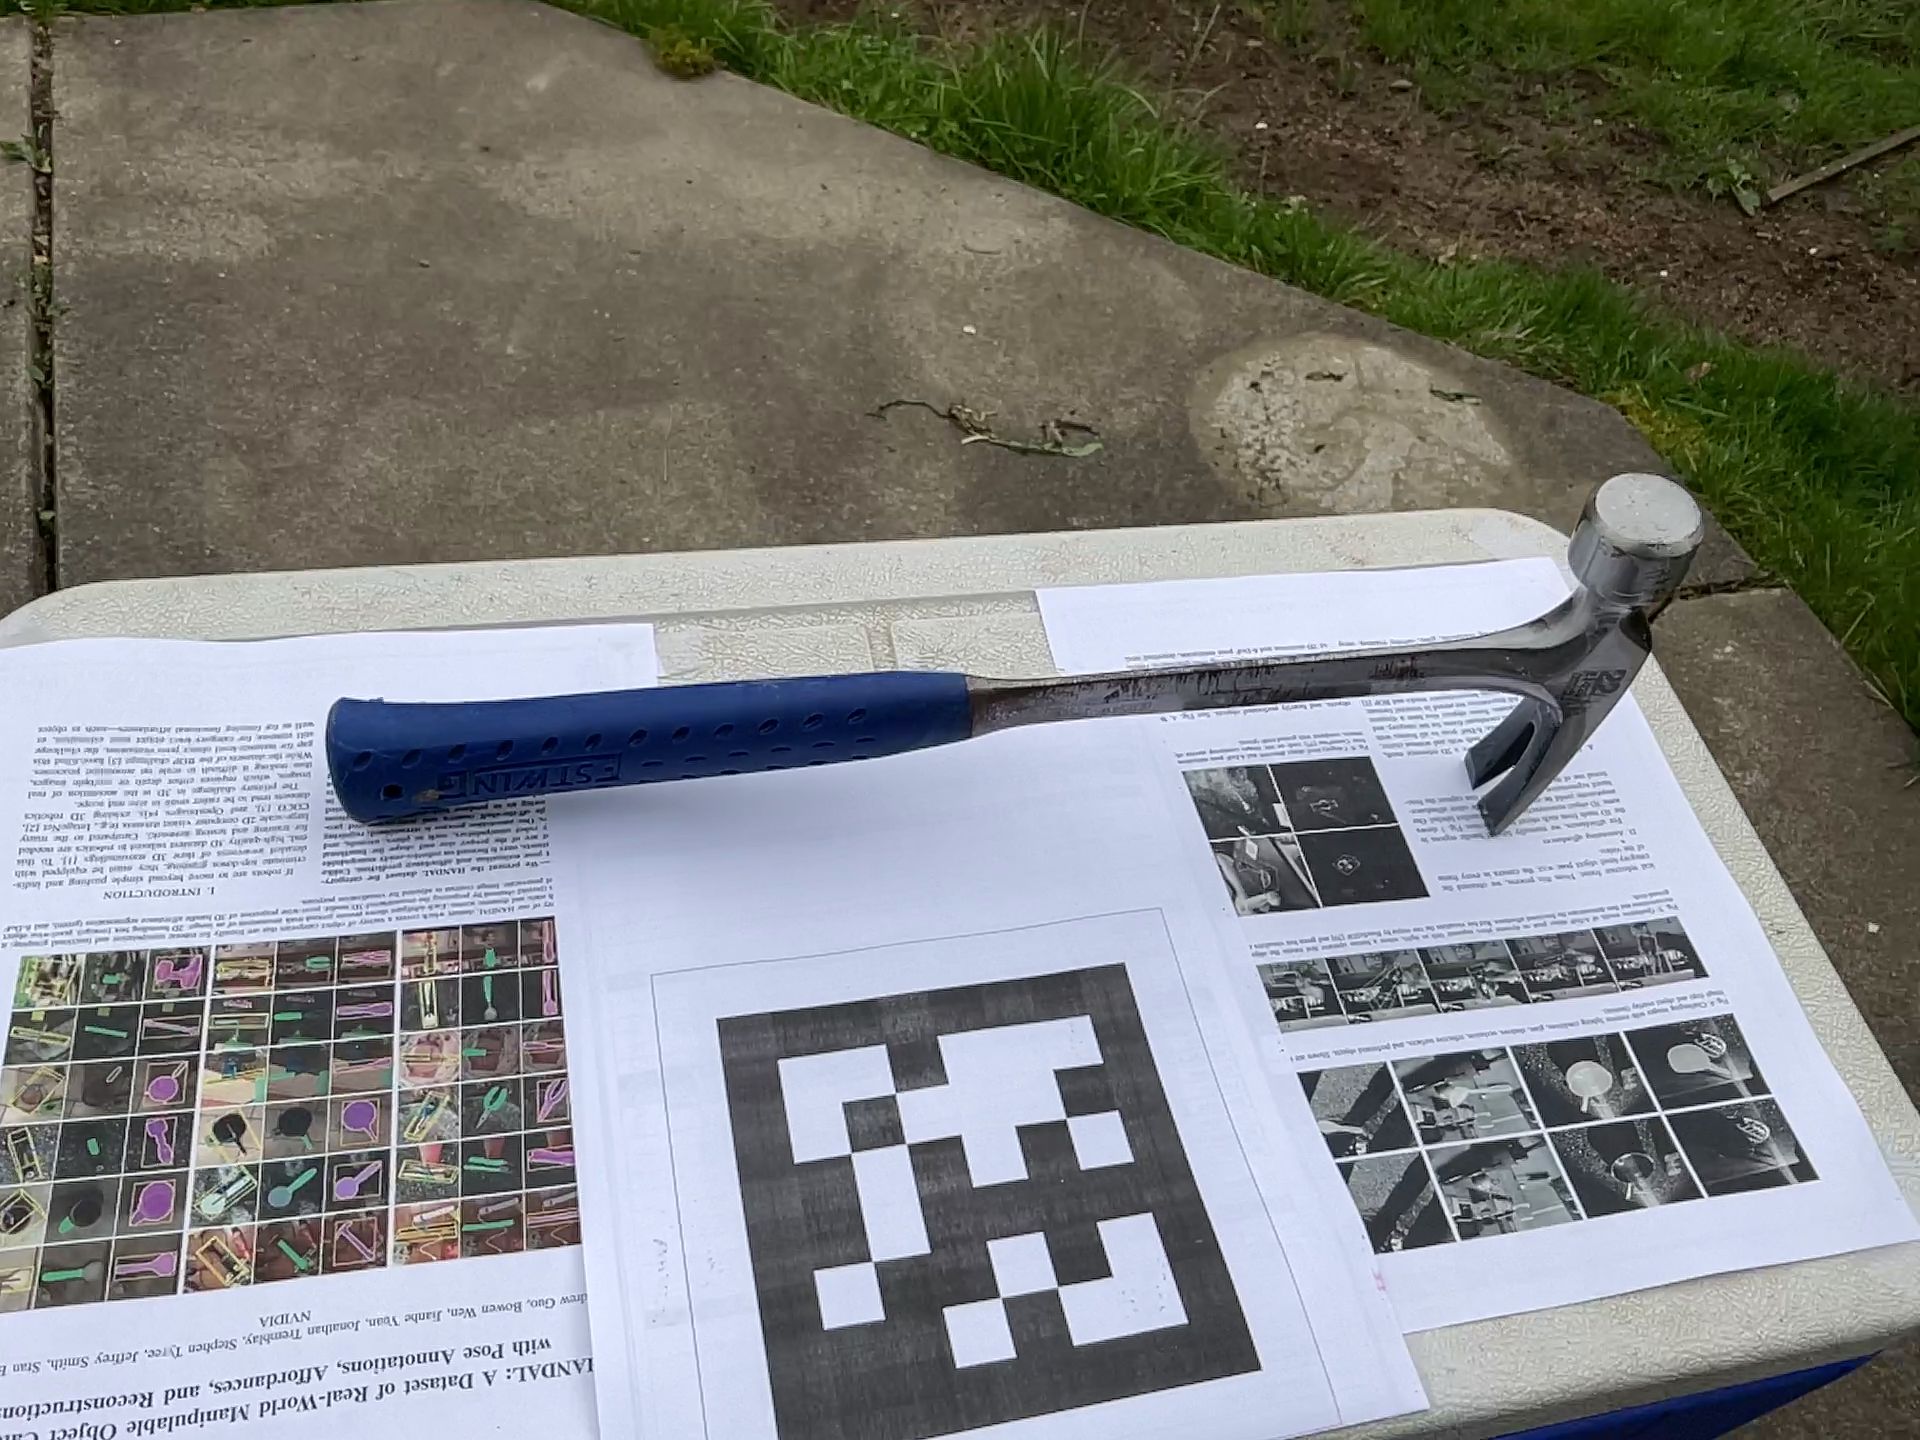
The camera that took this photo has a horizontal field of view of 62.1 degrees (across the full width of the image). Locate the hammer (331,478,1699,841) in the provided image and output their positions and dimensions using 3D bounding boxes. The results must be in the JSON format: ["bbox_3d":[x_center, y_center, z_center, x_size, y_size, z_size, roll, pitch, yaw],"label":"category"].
[{"bbox_3d":[0.014,0.000,0.509,0.405,0.144,0.035,-5,52,-3],"label":"hammer"}]
